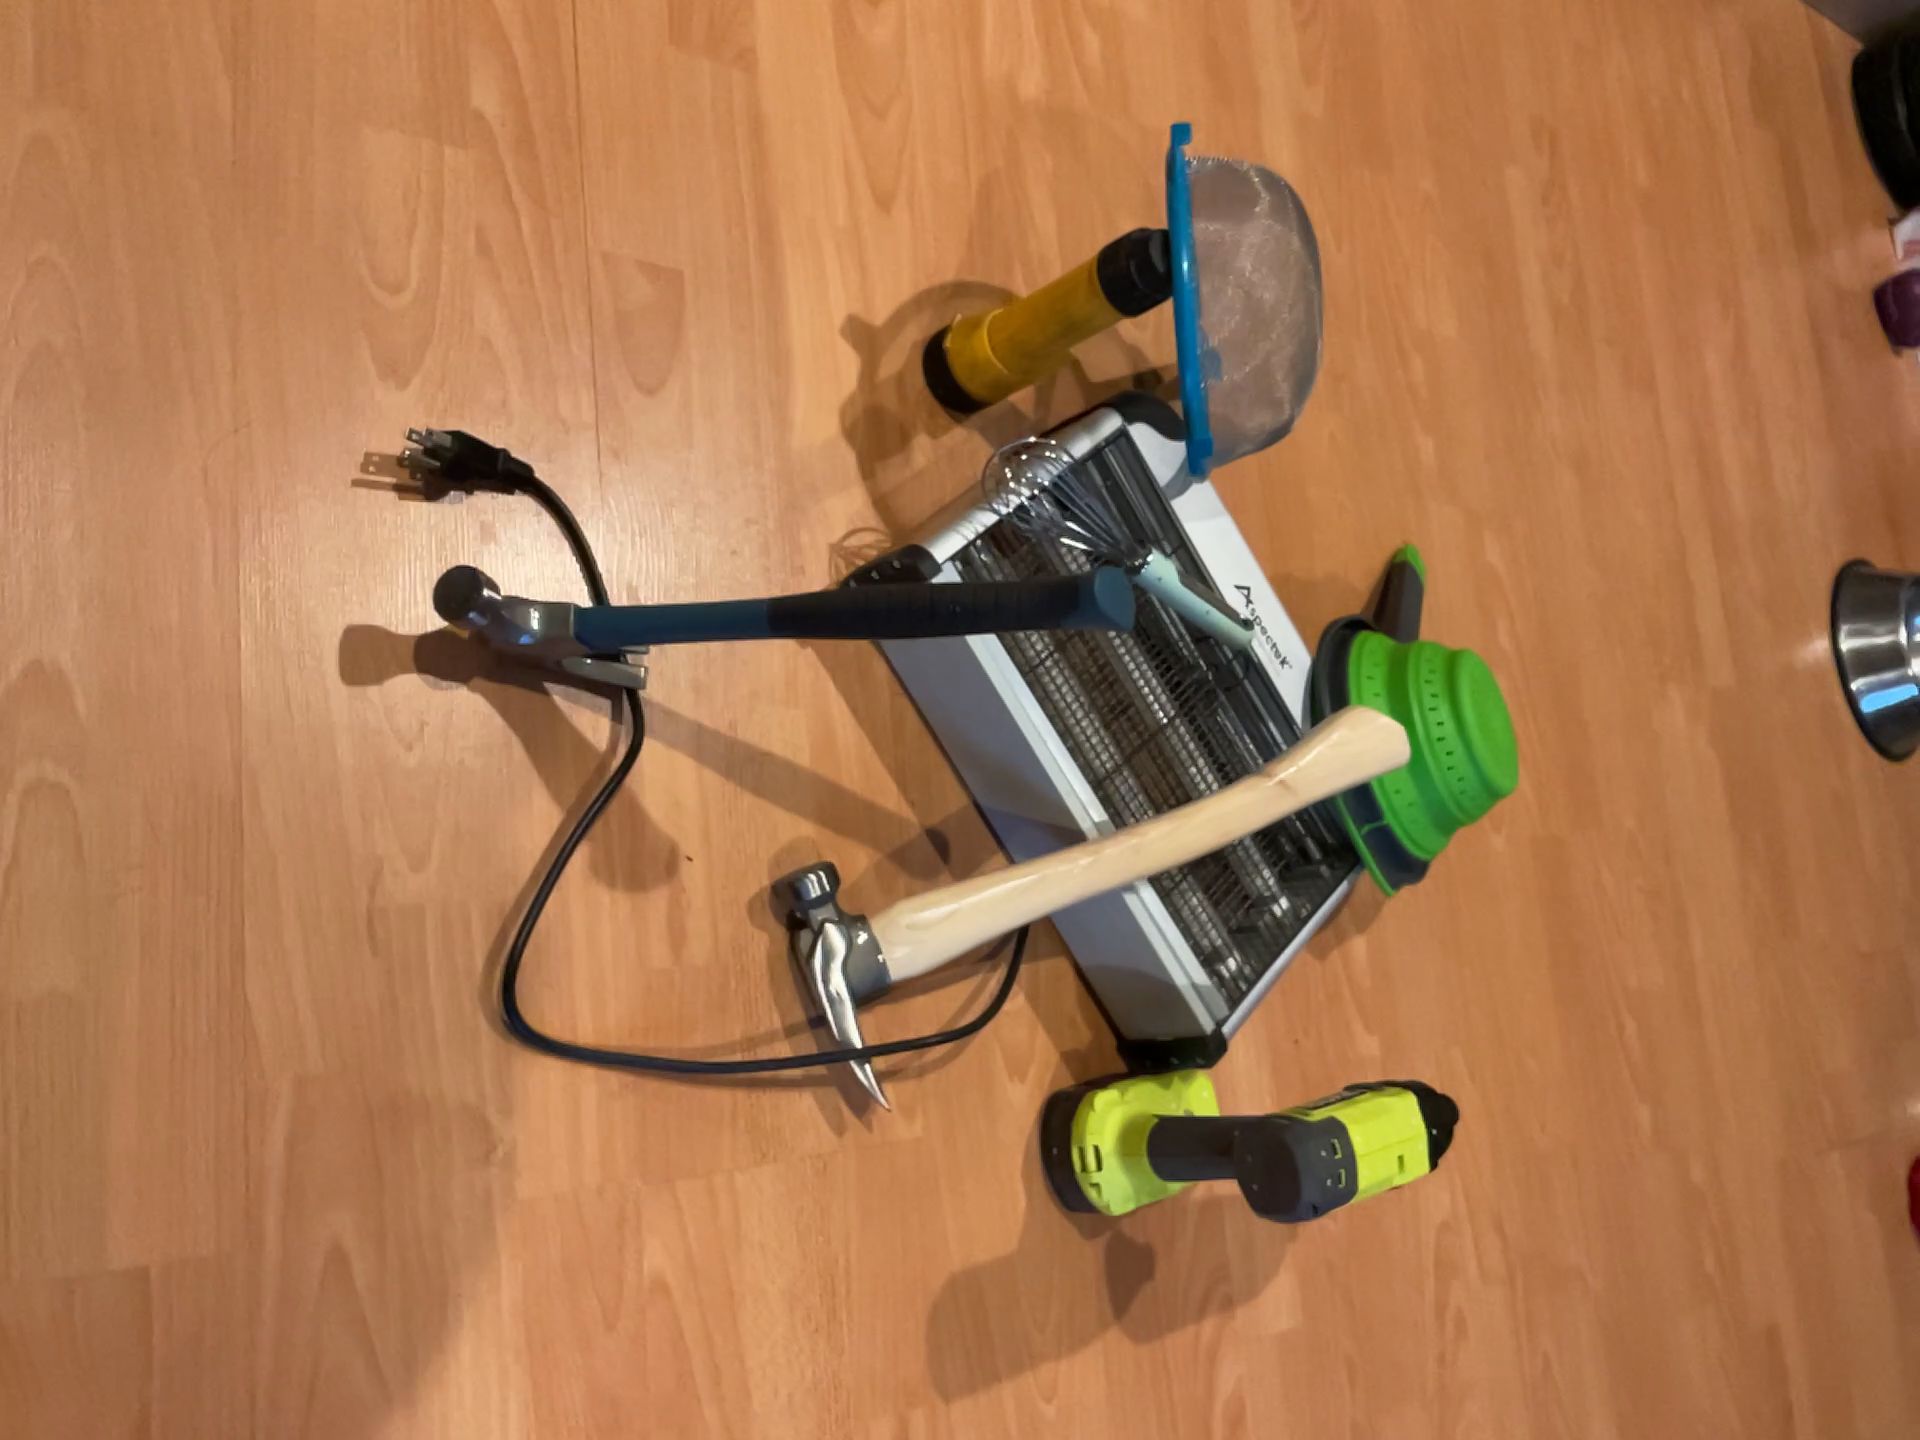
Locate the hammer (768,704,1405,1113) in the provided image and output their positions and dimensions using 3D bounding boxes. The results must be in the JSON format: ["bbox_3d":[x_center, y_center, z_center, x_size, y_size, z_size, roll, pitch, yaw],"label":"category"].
[{"bbox_3d":[0.098,0.093,0.973,0.411,0.038,0.146,-20,92,-17],"label":"hammer"}]

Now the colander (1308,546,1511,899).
[{"bbox_3d":[0.362,-0.035,1.230,0.204,0.094,0.397,57,34,-23],"label":"colander"}]

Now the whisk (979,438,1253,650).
[{"bbox_3d":[0.106,-0.106,1.017,0.246,0.059,0.058,30,32,-35],"label":"whisk"}]

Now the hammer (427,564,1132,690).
[{"bbox_3d":[-0.082,-0.051,0.797,0.128,0.331,0.033,51,38,-72],"label":"hammer"}]

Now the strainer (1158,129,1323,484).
[{"bbox_3d":[0.197,-0.266,1.089,0.340,0.095,0.211,-19,105,-76],"label":"strainer"}]

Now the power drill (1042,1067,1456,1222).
[{"bbox_3d":[0.174,0.254,0.976,0.171,0.223,0.080,-3,82,-41],"label":"power drill"}]
